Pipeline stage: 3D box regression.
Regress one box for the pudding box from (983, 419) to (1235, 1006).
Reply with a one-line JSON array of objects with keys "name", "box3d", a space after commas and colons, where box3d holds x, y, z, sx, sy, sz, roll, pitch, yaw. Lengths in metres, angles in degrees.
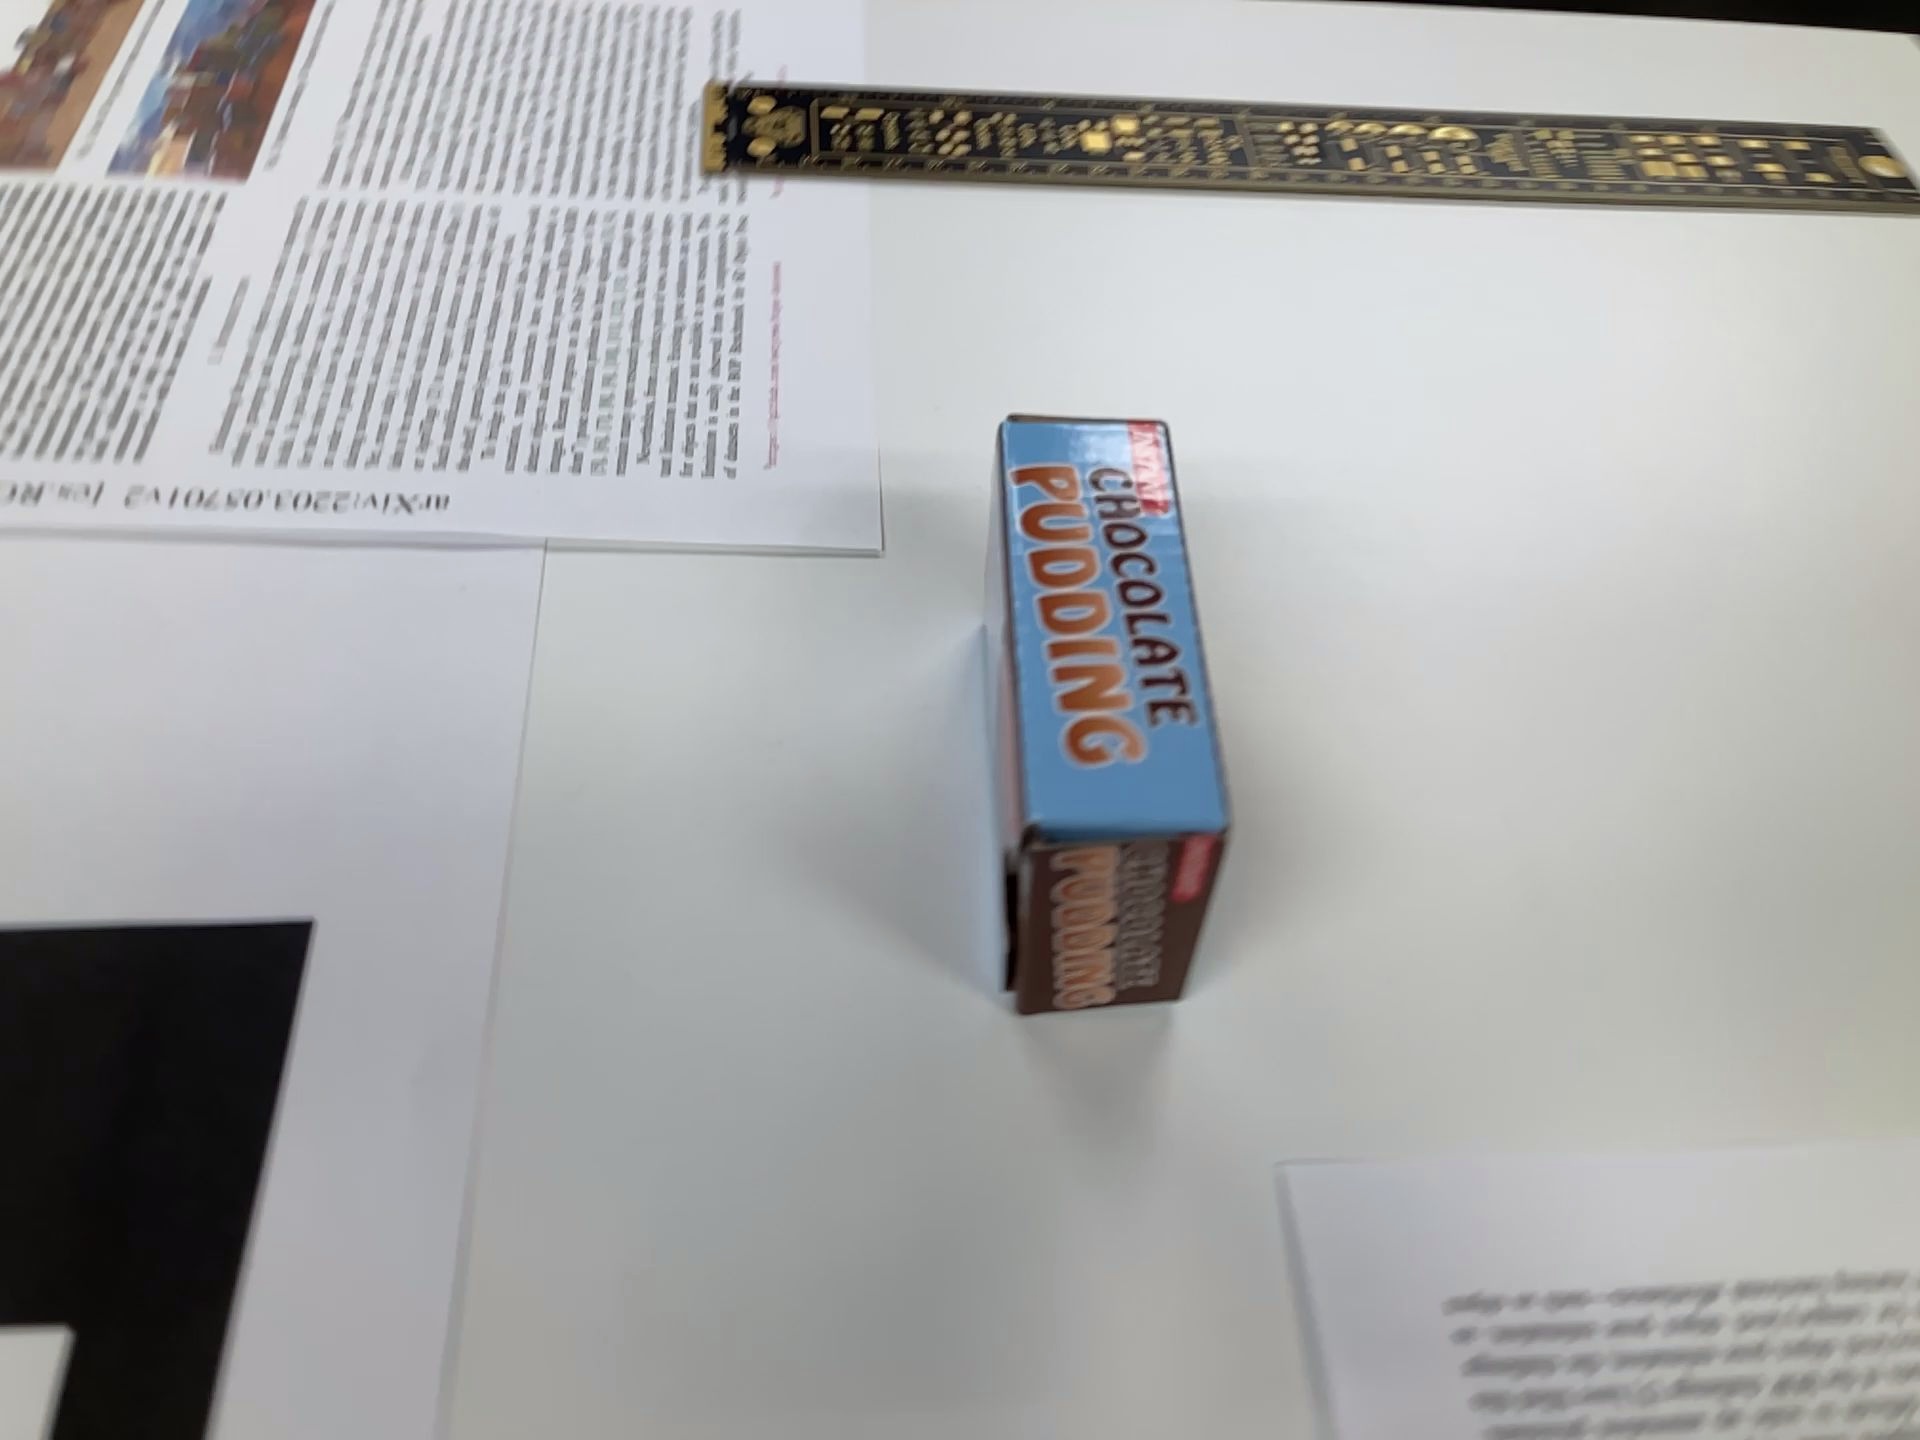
[{"name": "pudding box", "box3d": [0.020, -0.002, 0.253, 0.030, 0.049, 0.083, 0, 52, -3]}]
